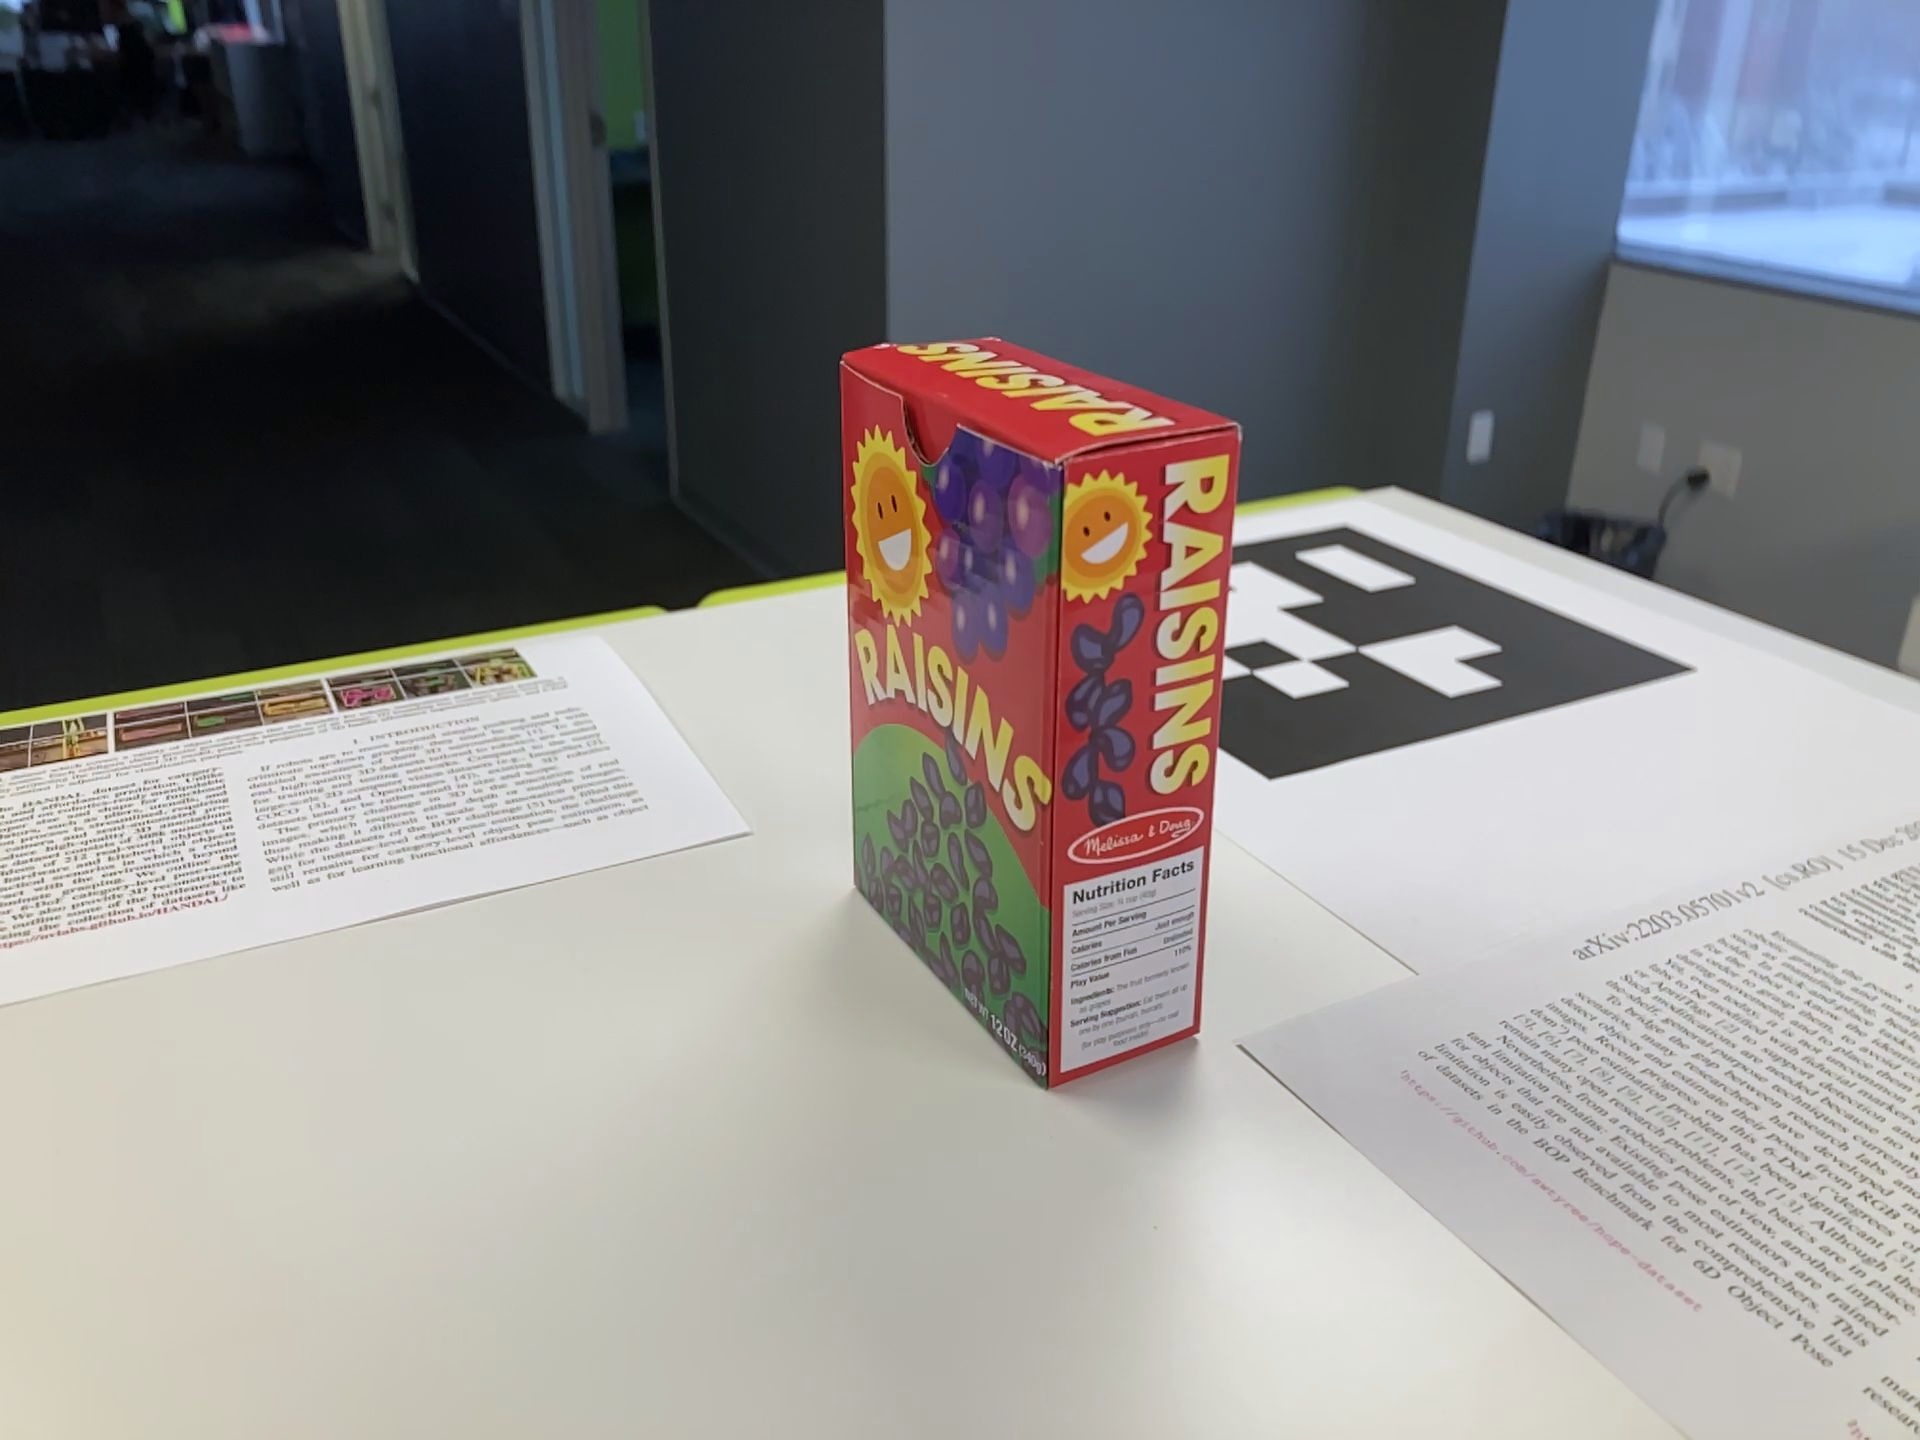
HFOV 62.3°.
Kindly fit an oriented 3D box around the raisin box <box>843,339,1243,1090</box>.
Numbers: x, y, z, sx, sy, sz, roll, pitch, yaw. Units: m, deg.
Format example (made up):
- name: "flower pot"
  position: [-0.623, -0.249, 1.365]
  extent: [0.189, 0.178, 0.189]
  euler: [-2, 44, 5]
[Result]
- name: "raisin box"
  position: [0.011, -0.005, 0.311]
  extent: [0.040, 0.123, 0.086]
  euler: [-12, 27, -25]
